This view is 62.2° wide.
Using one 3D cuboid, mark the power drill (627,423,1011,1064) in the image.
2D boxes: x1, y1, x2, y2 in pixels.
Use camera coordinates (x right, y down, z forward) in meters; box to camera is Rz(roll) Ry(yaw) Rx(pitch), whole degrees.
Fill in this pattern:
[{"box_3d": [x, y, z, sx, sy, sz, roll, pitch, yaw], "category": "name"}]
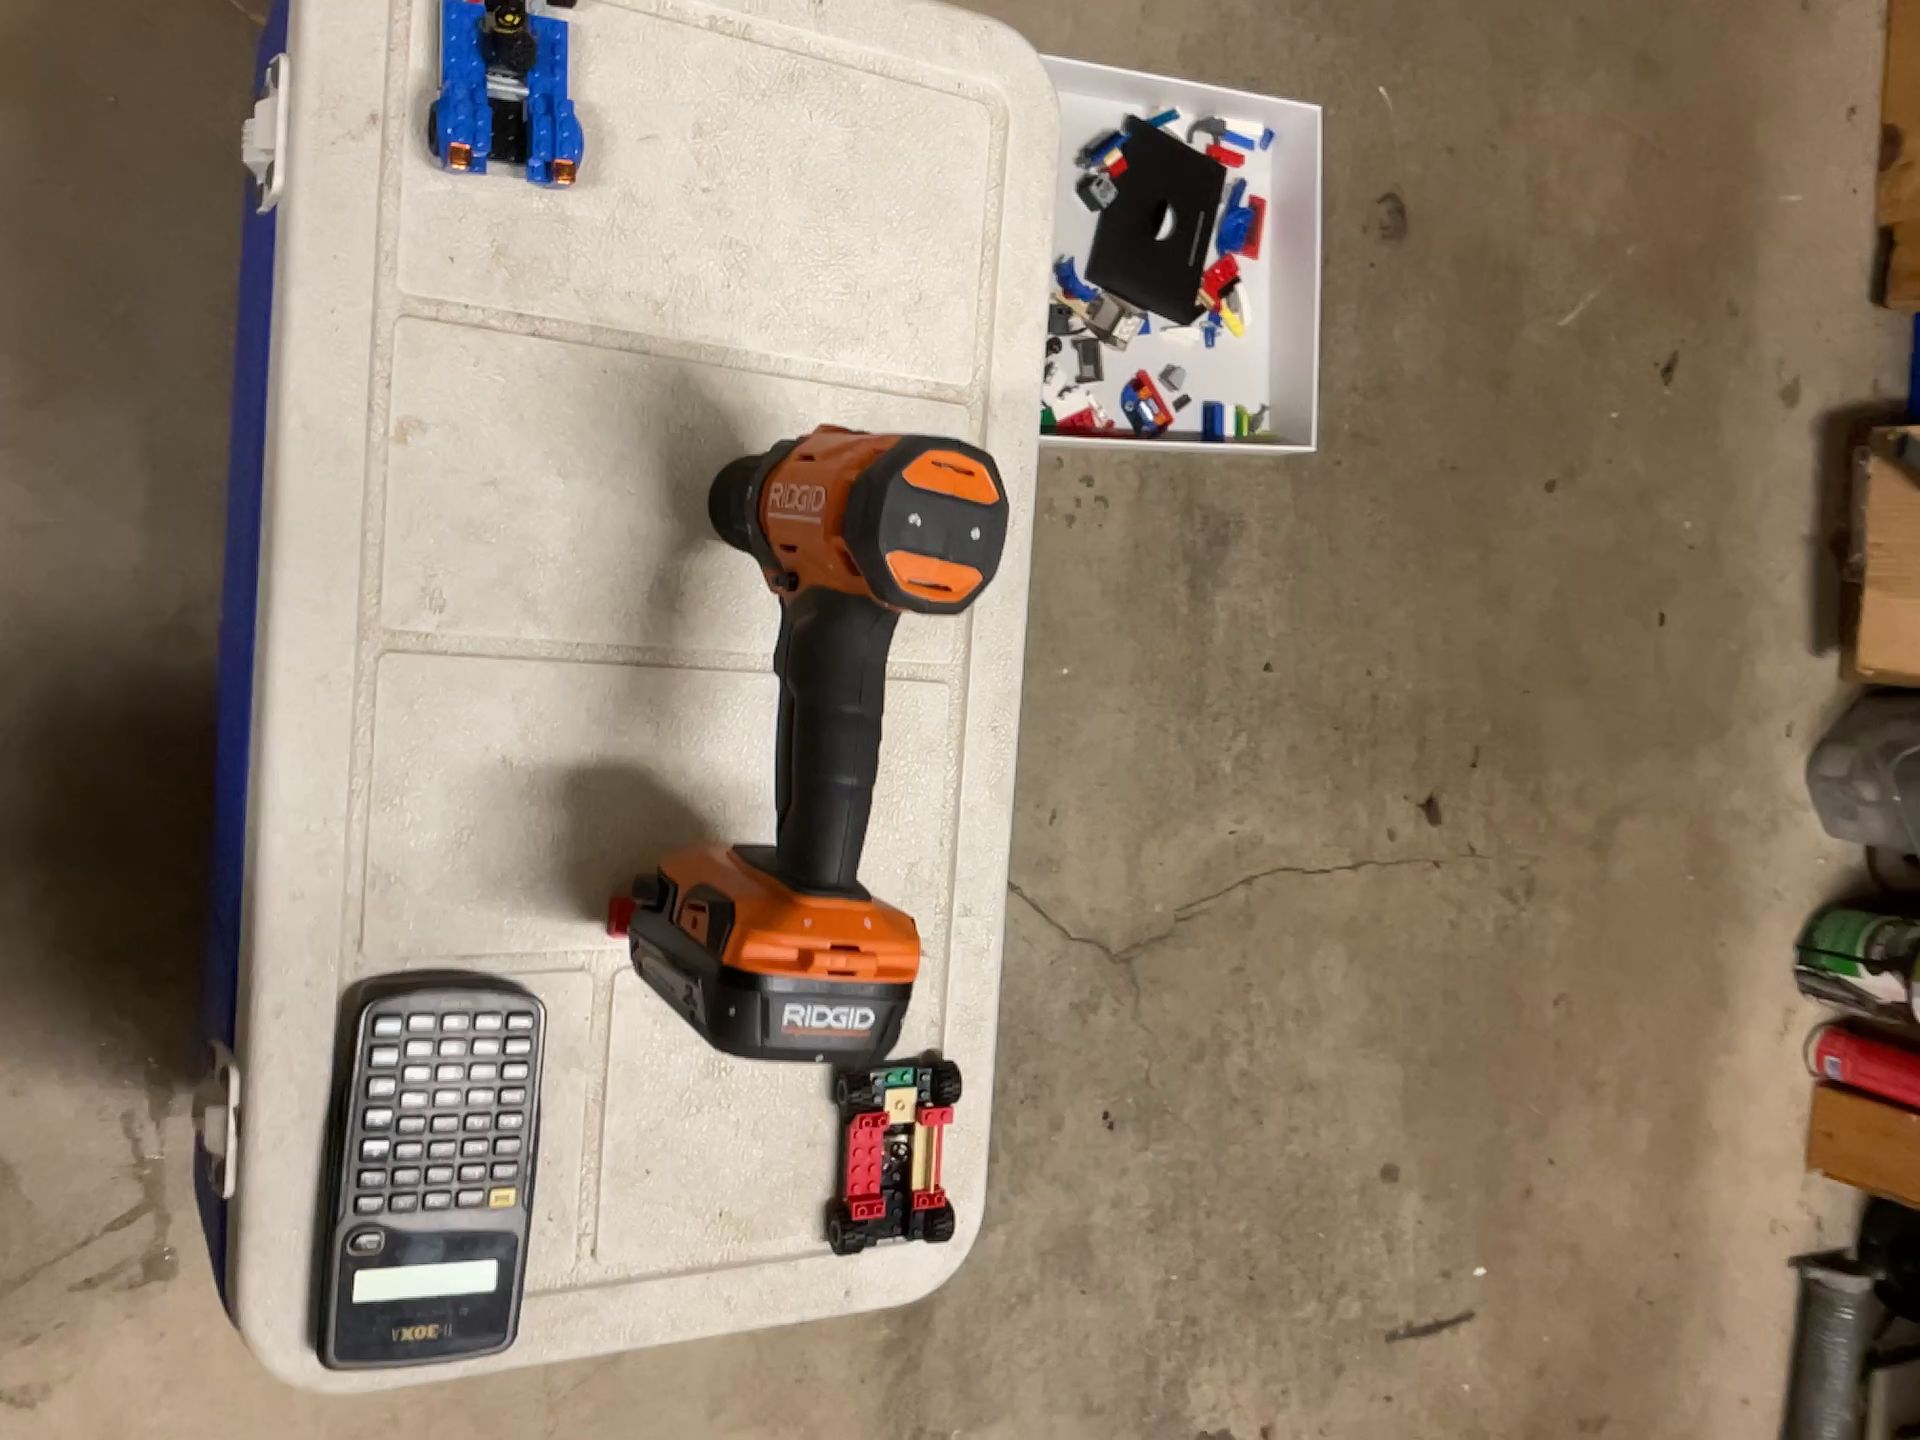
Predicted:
[{"box_3d": [-0.067, -0.002, 0.620, 0.084, 0.185, 0.226, 9, 95, -32], "category": "power drill"}]
